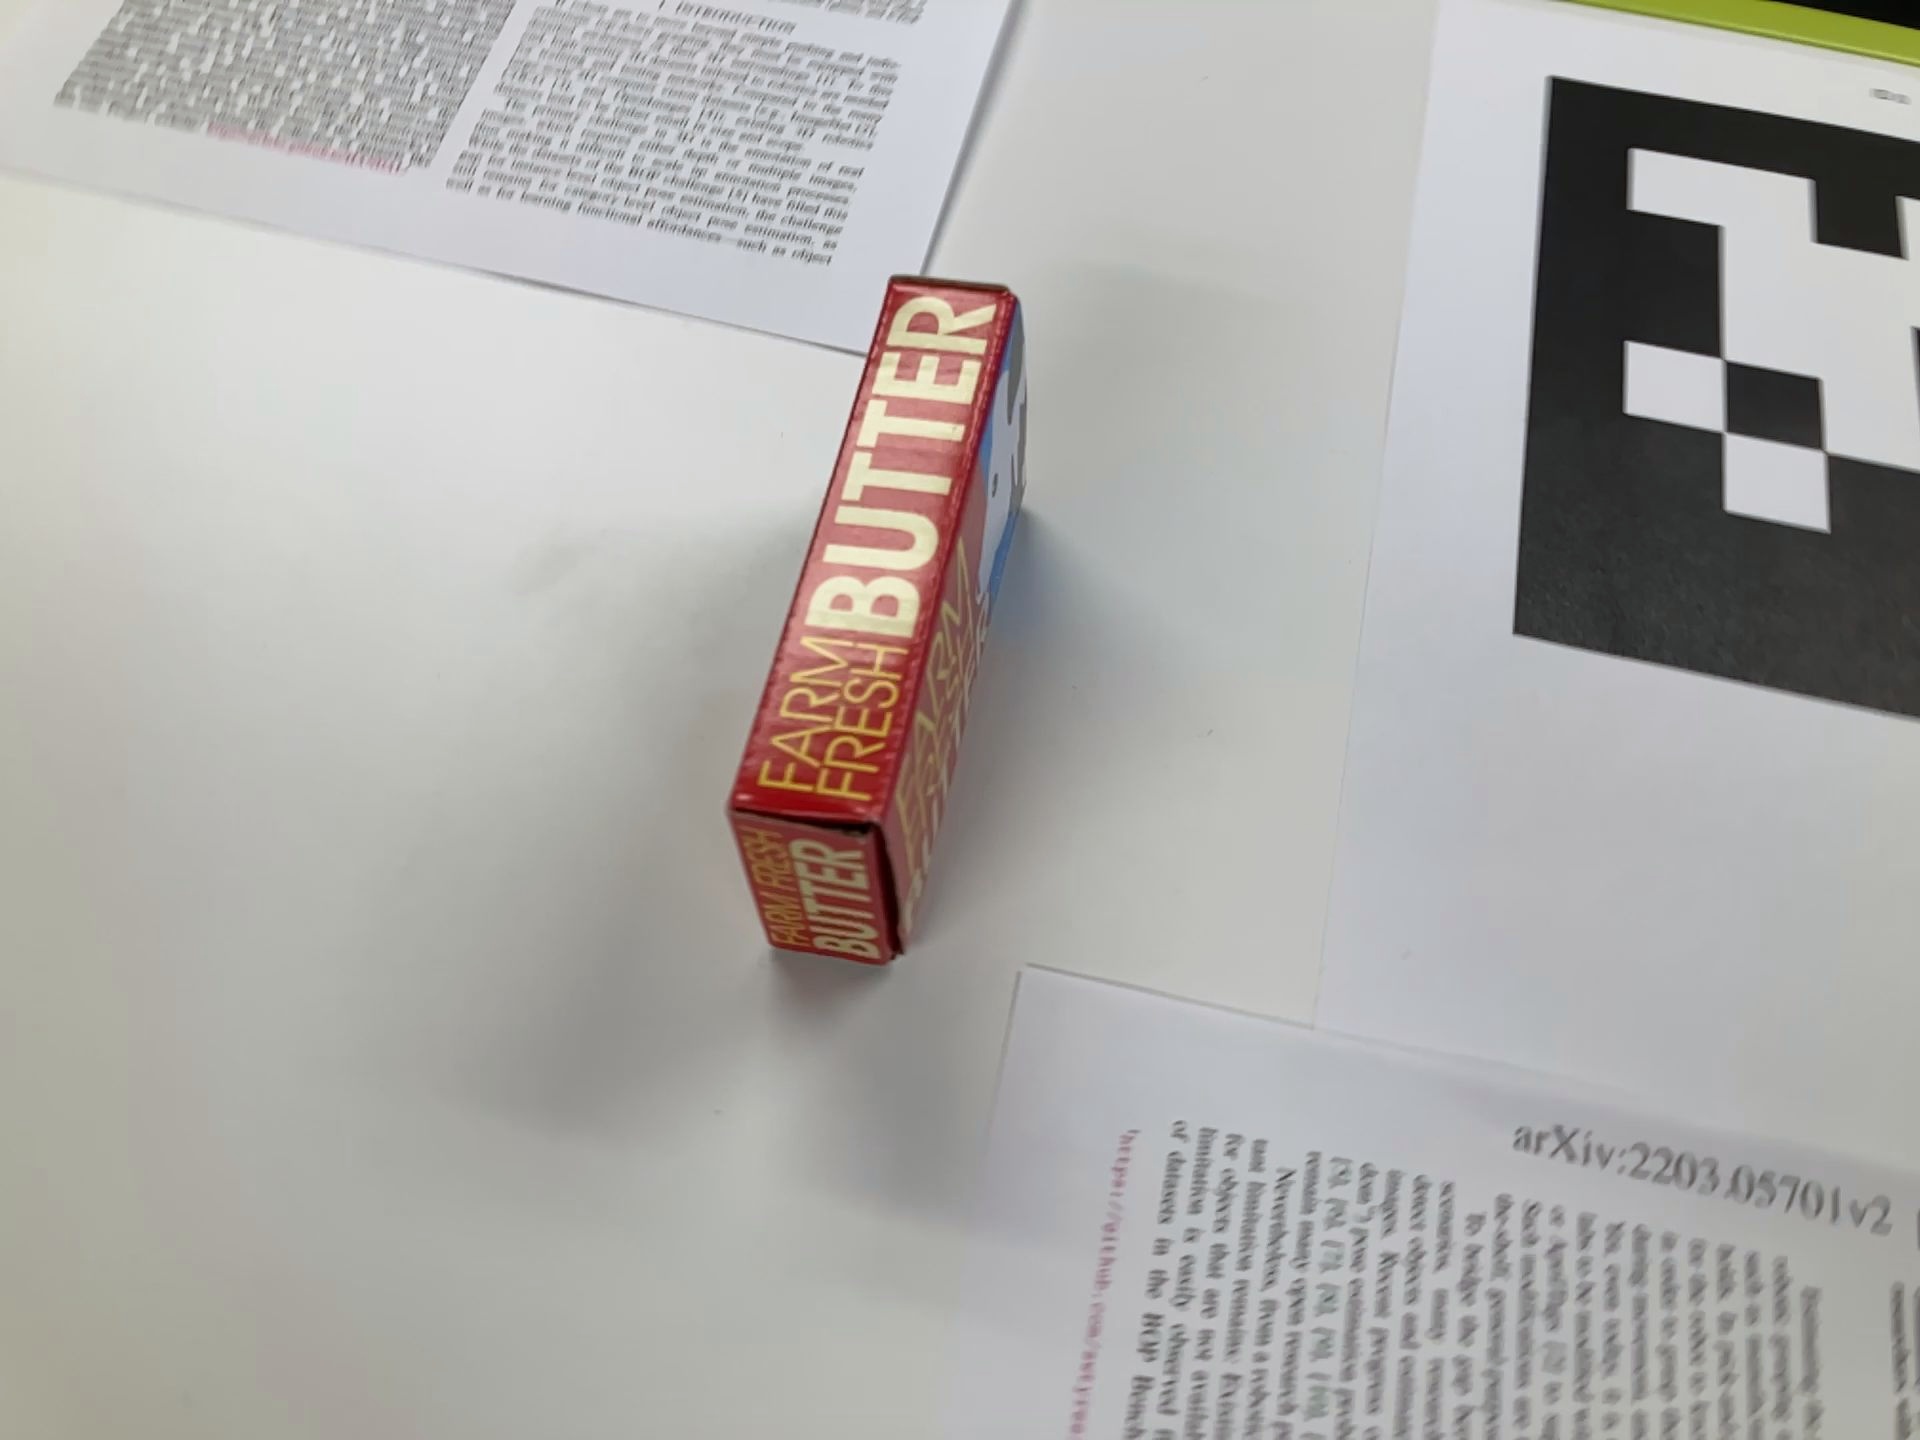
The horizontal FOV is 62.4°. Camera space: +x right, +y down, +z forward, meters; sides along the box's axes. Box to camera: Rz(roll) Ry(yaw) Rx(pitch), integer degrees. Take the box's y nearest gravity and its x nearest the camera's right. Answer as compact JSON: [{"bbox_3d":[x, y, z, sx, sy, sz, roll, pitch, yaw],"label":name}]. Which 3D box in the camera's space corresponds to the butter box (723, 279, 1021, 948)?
[{"bbox_3d":[-0.010,-0.018,0.267,0.024,0.053,0.103,10,61,8],"label":"butter box"}]
